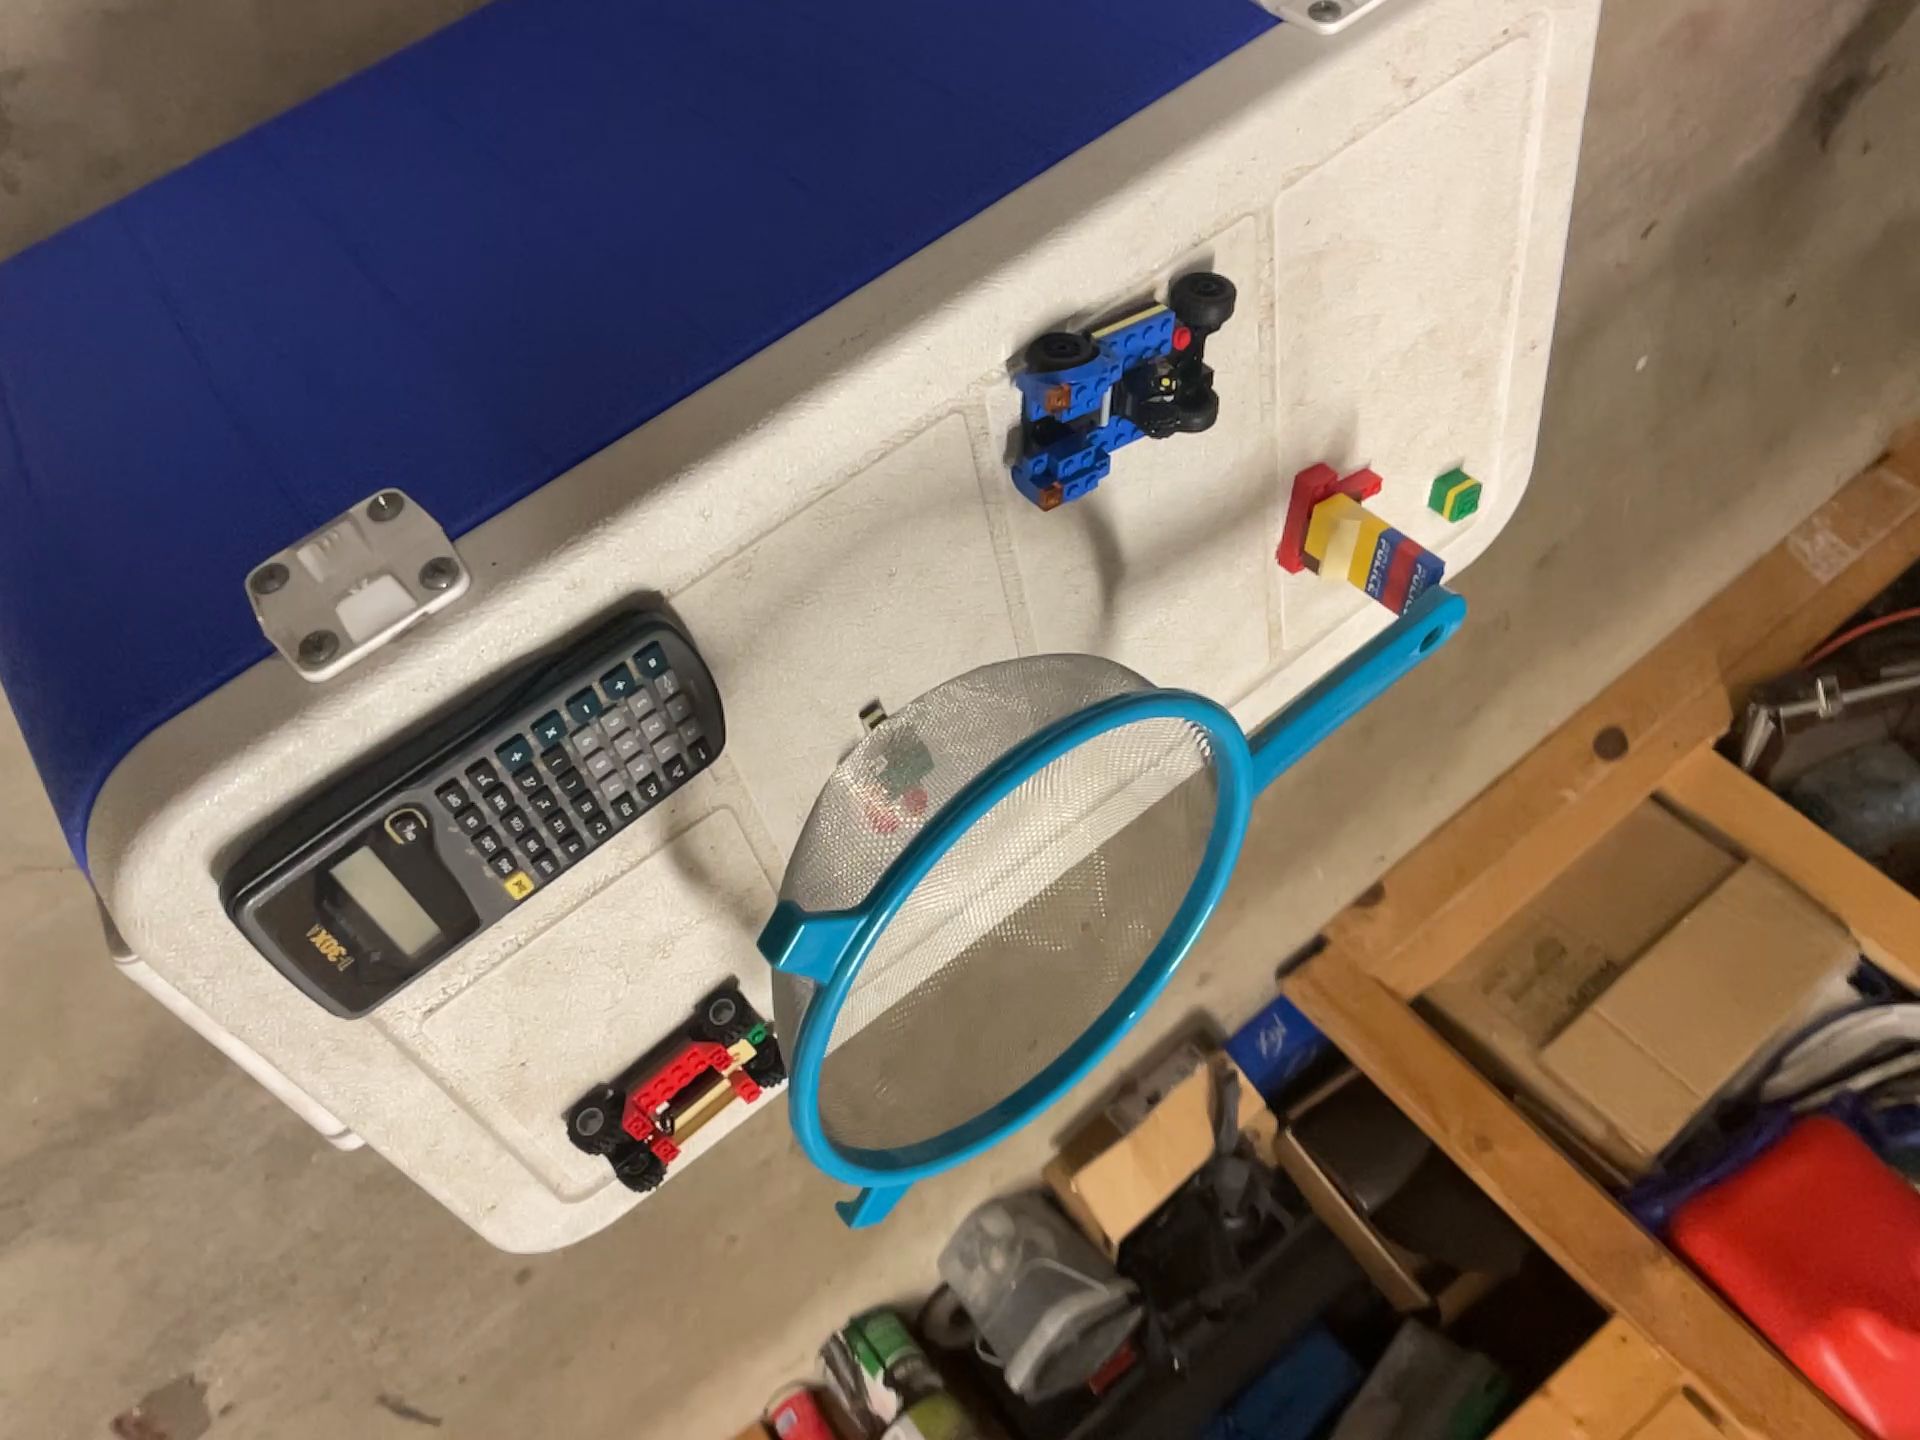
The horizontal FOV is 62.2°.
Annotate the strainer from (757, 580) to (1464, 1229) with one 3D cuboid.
[{"bbox_3d":[0.050,0.023,0.601,0.340,0.095,0.210,-36,144,-24],"label":"strainer"}]
